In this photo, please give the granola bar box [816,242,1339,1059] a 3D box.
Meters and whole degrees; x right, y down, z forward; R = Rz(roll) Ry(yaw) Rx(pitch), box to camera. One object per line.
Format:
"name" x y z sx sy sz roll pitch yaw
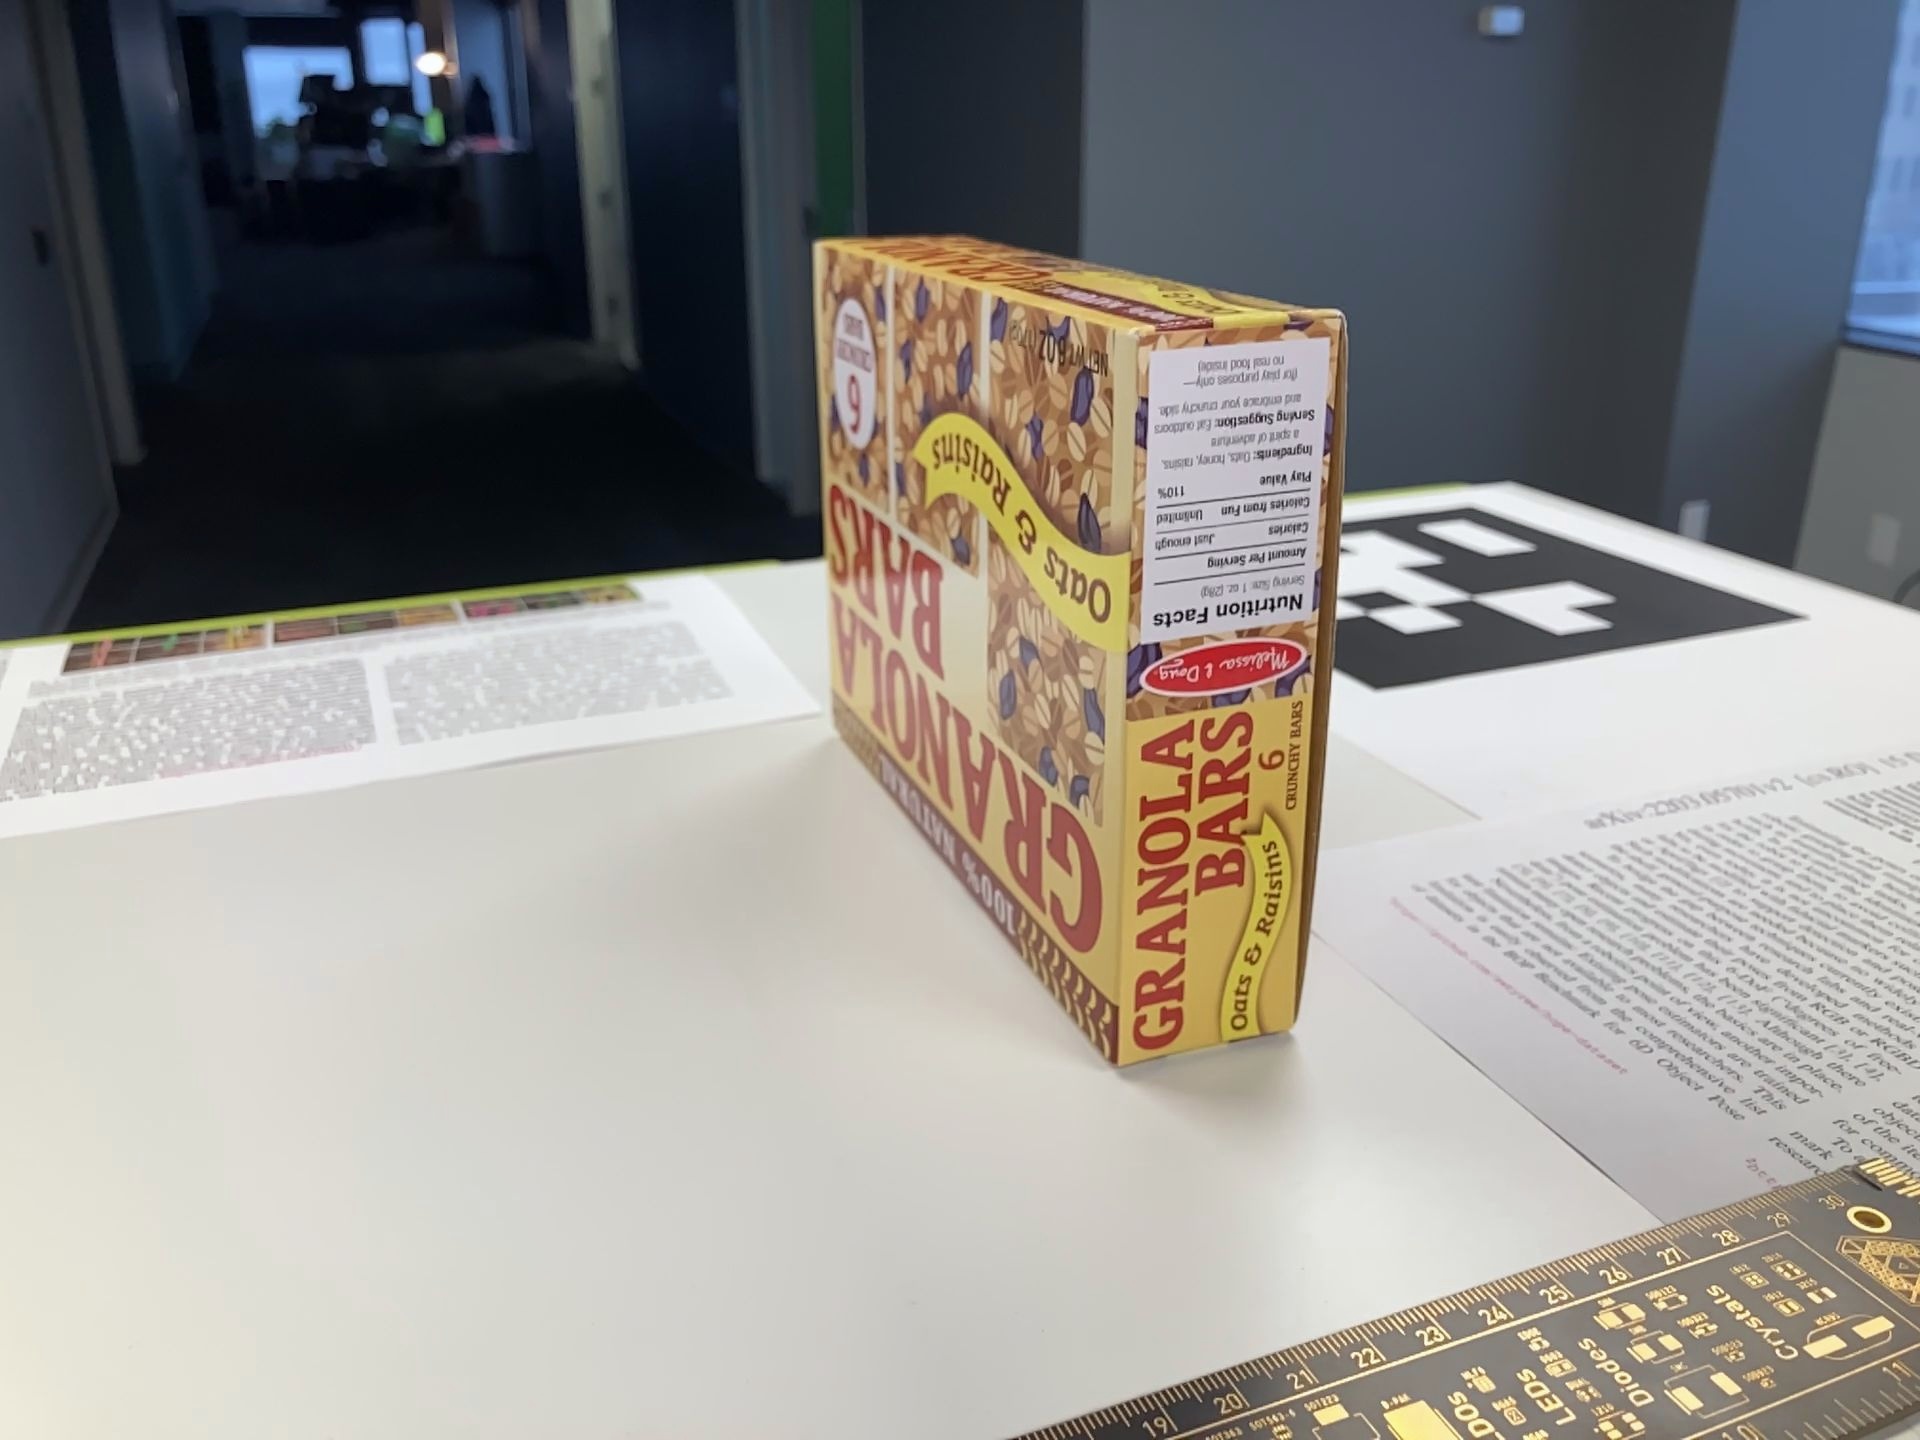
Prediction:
"granola bar box" 0.013 -0.028 0.327 0.039 0.124 0.165 -8 22 -19
